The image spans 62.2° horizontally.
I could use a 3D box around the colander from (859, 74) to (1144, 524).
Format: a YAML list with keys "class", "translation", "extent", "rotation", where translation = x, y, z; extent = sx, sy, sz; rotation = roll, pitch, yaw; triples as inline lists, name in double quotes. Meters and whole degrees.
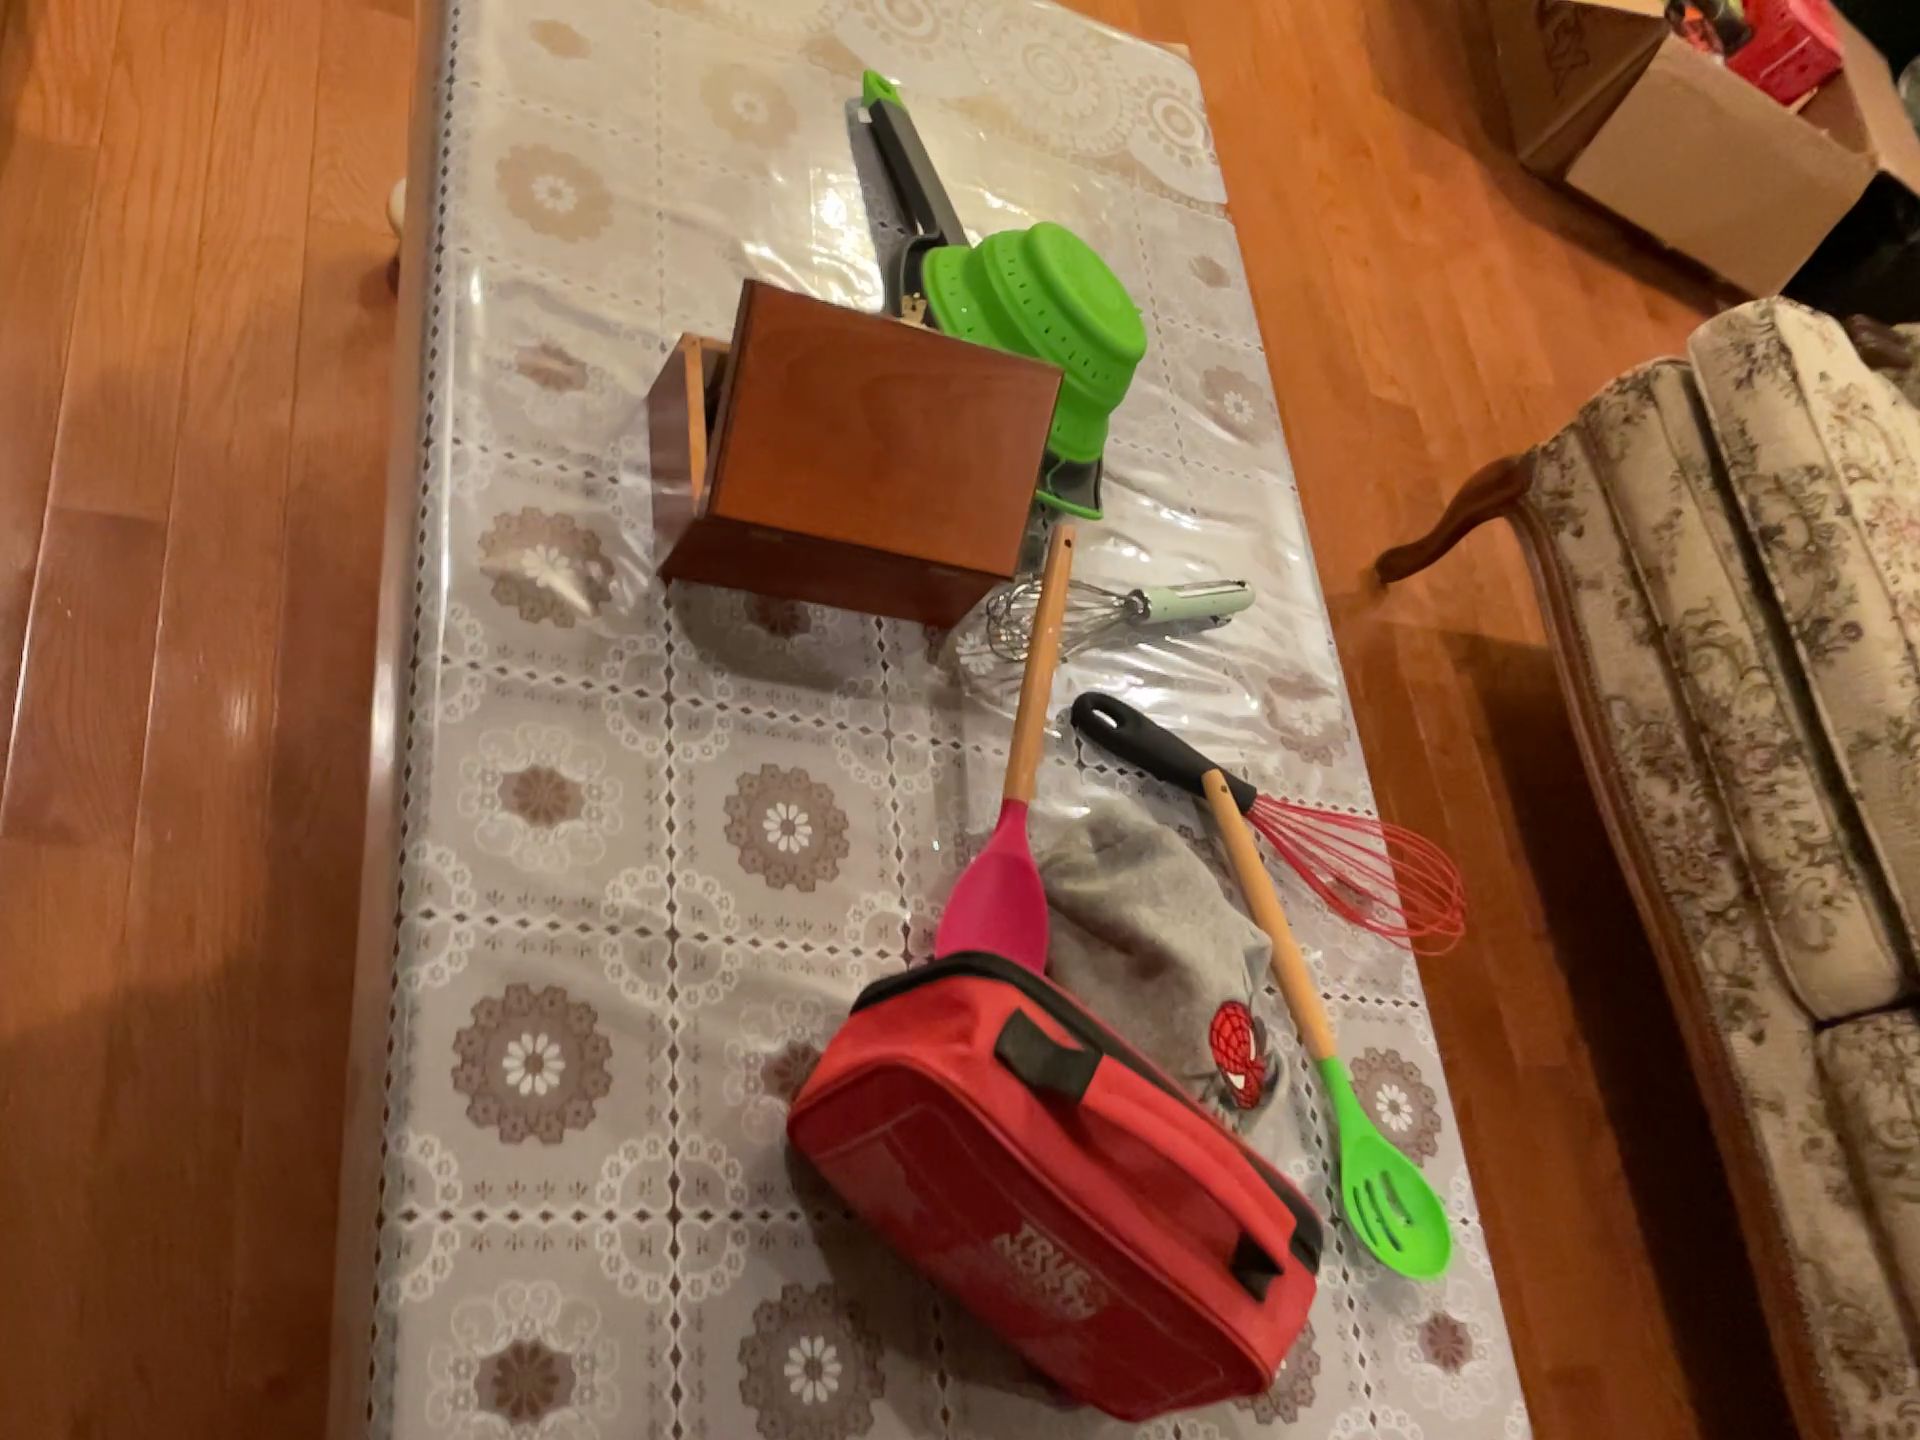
- class: "colander"
  translation: [0.025, -0.319, 1.067]
  extent: [0.204, 0.094, 0.398]
  rotation: [13, 48, -50]

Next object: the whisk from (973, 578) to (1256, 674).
- class: "whisk"
  translation: [0.109, -0.071, 1.042]
  extent: [0.246, 0.059, 0.057]
  rotation: [-11, 111, -39]

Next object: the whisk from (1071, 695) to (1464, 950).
- class: "whisk"
  translation: [0.199, 0.062, 1.010]
  extent: [0.295, 0.073, 0.073]
  rotation: [29, 57, -7]

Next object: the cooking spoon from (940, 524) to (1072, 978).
- class: "cooking spoon"
  translation: [0.036, 0.027, 0.912]
  extent: [0.068, 0.017, 0.319]
  rotation: [21, 65, -23]

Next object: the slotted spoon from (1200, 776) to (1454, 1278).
- class: "slotted spoon"
  translation: [0.210, 0.178, 0.951]
  extent: [0.070, 0.031, 0.314]
  rotation: [-11, 73, -36]
